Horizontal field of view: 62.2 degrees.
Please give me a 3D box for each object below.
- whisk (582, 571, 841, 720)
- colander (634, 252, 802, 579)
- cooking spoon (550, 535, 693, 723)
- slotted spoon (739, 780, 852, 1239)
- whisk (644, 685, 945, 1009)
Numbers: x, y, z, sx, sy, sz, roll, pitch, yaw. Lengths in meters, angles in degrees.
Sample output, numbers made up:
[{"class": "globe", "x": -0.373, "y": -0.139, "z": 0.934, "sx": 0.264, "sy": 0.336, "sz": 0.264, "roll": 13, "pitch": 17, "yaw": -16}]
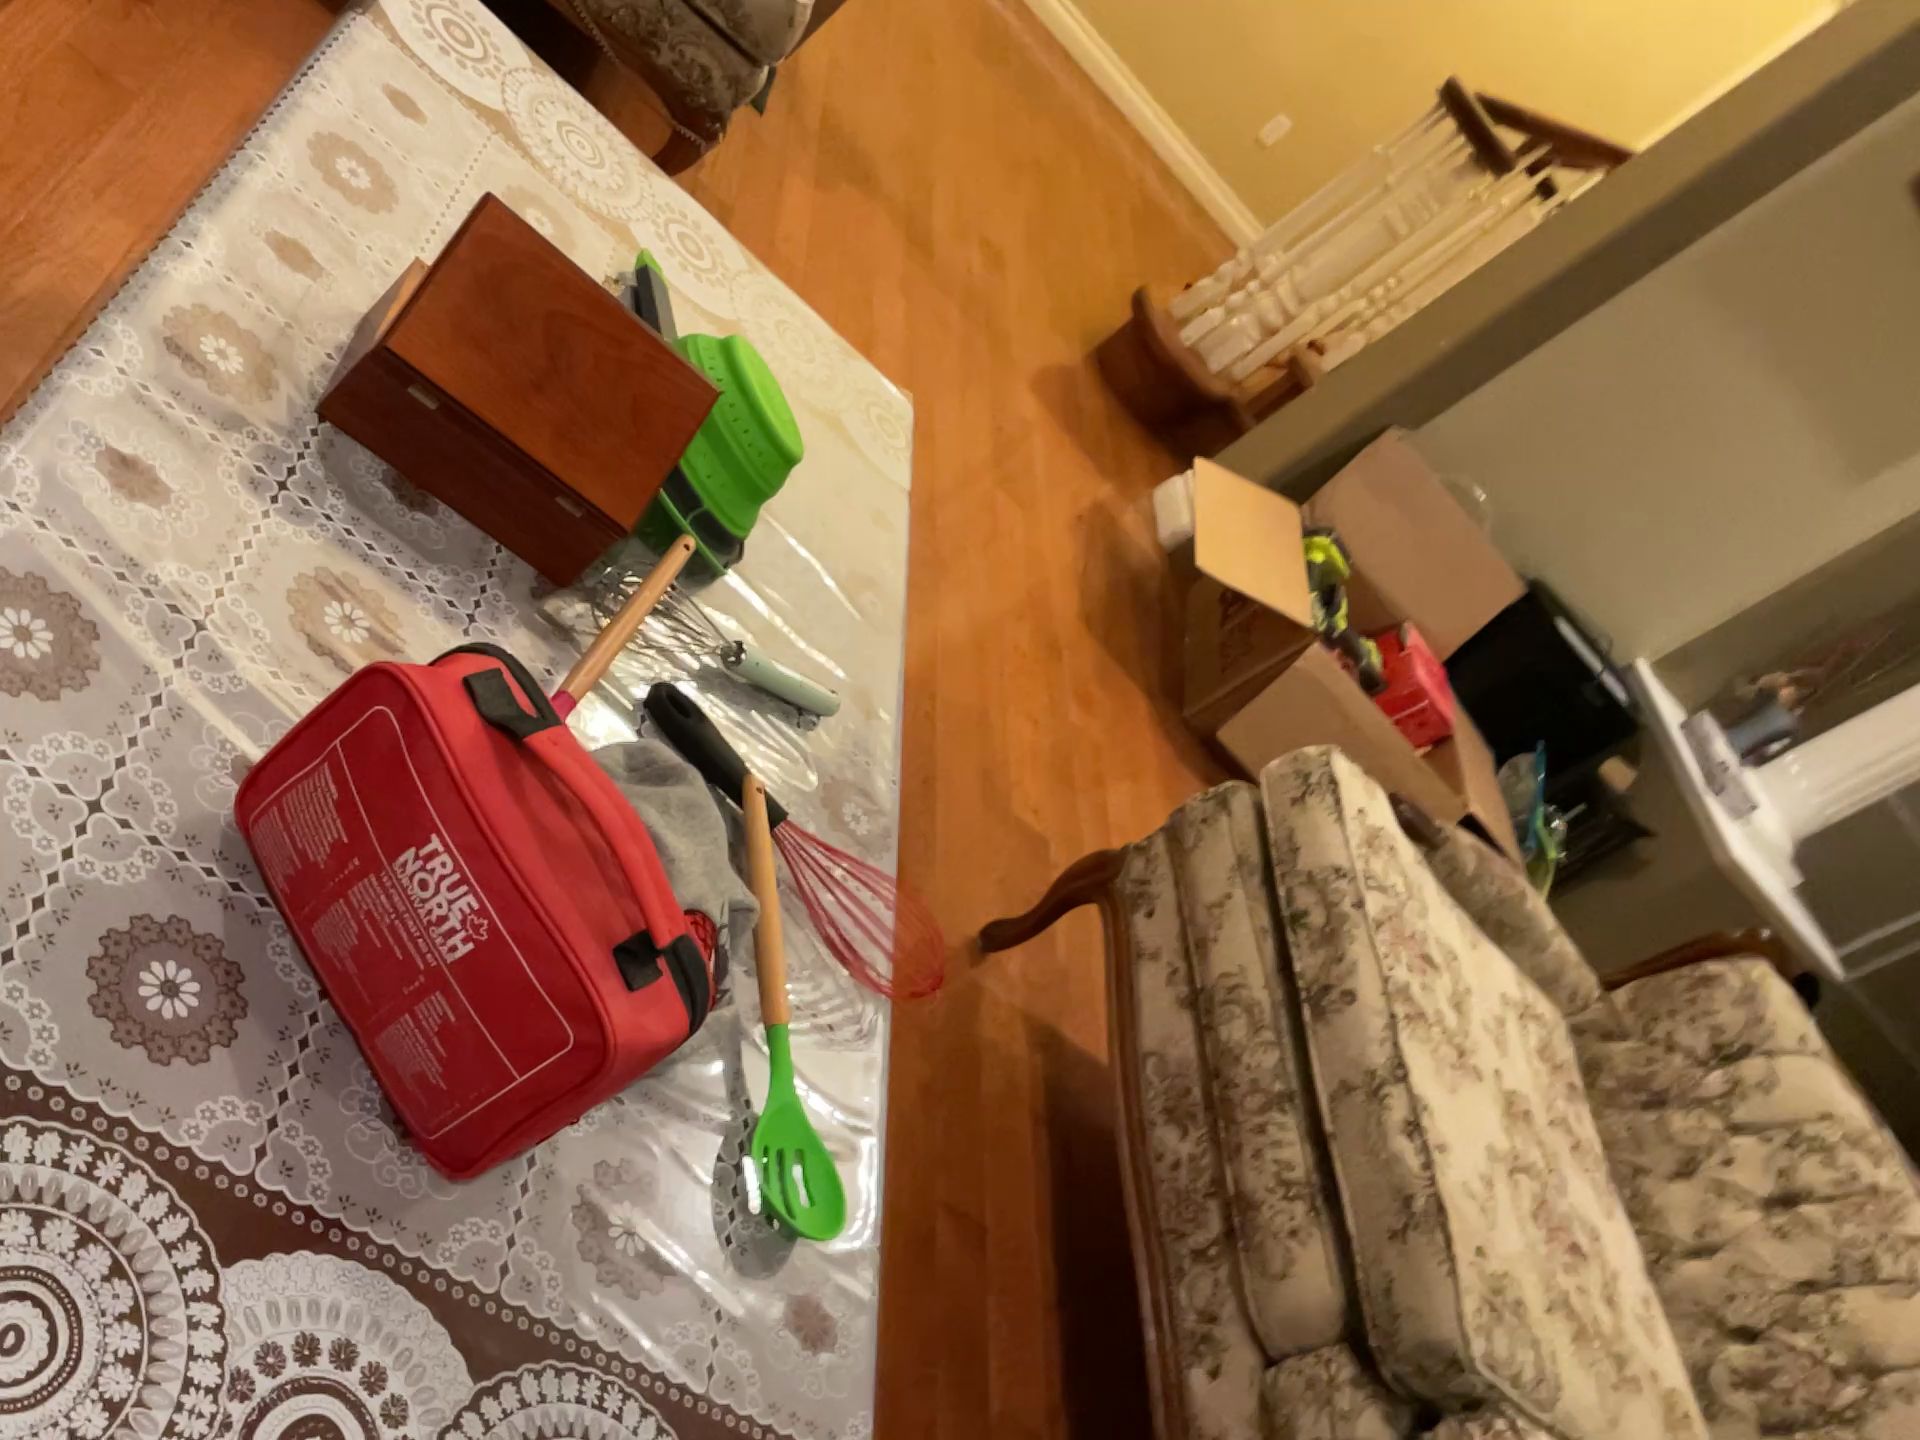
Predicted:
[{"class": "whisk", "x": -0.175, "y": -0.047, "z": 1.169, "sx": 0.246, "sy": 0.059, "sz": 0.058, "roll": 27, "pitch": 80, "yaw": -46}, {"class": "colander", "x": -0.203, "y": -0.285, "z": 1.280, "sx": 0.204, "sy": 0.094, "sz": 0.398, "roll": 56, "pitch": 12, "yaw": -45}, {"class": "cooking spoon", "x": -0.237, "y": -0.026, "z": 1.004, "sx": 0.068, "sy": 0.017, "sz": 0.319, "roll": 46, "pitch": 39, "yaw": -19}, {"class": "slotted spoon", "x": -0.115, "y": 0.173, "z": 1.000, "sx": 0.070, "sy": 0.031, "sz": 0.314, "roll": 25, "pitch": 42, "yaw": -44}, {"class": "whisk", "x": -0.113, "y": 0.087, "z": 1.098, "sx": 0.296, "sy": 0.073, "sz": 0.073, "roll": 47, "pitch": 34, "yaw": -1}]
